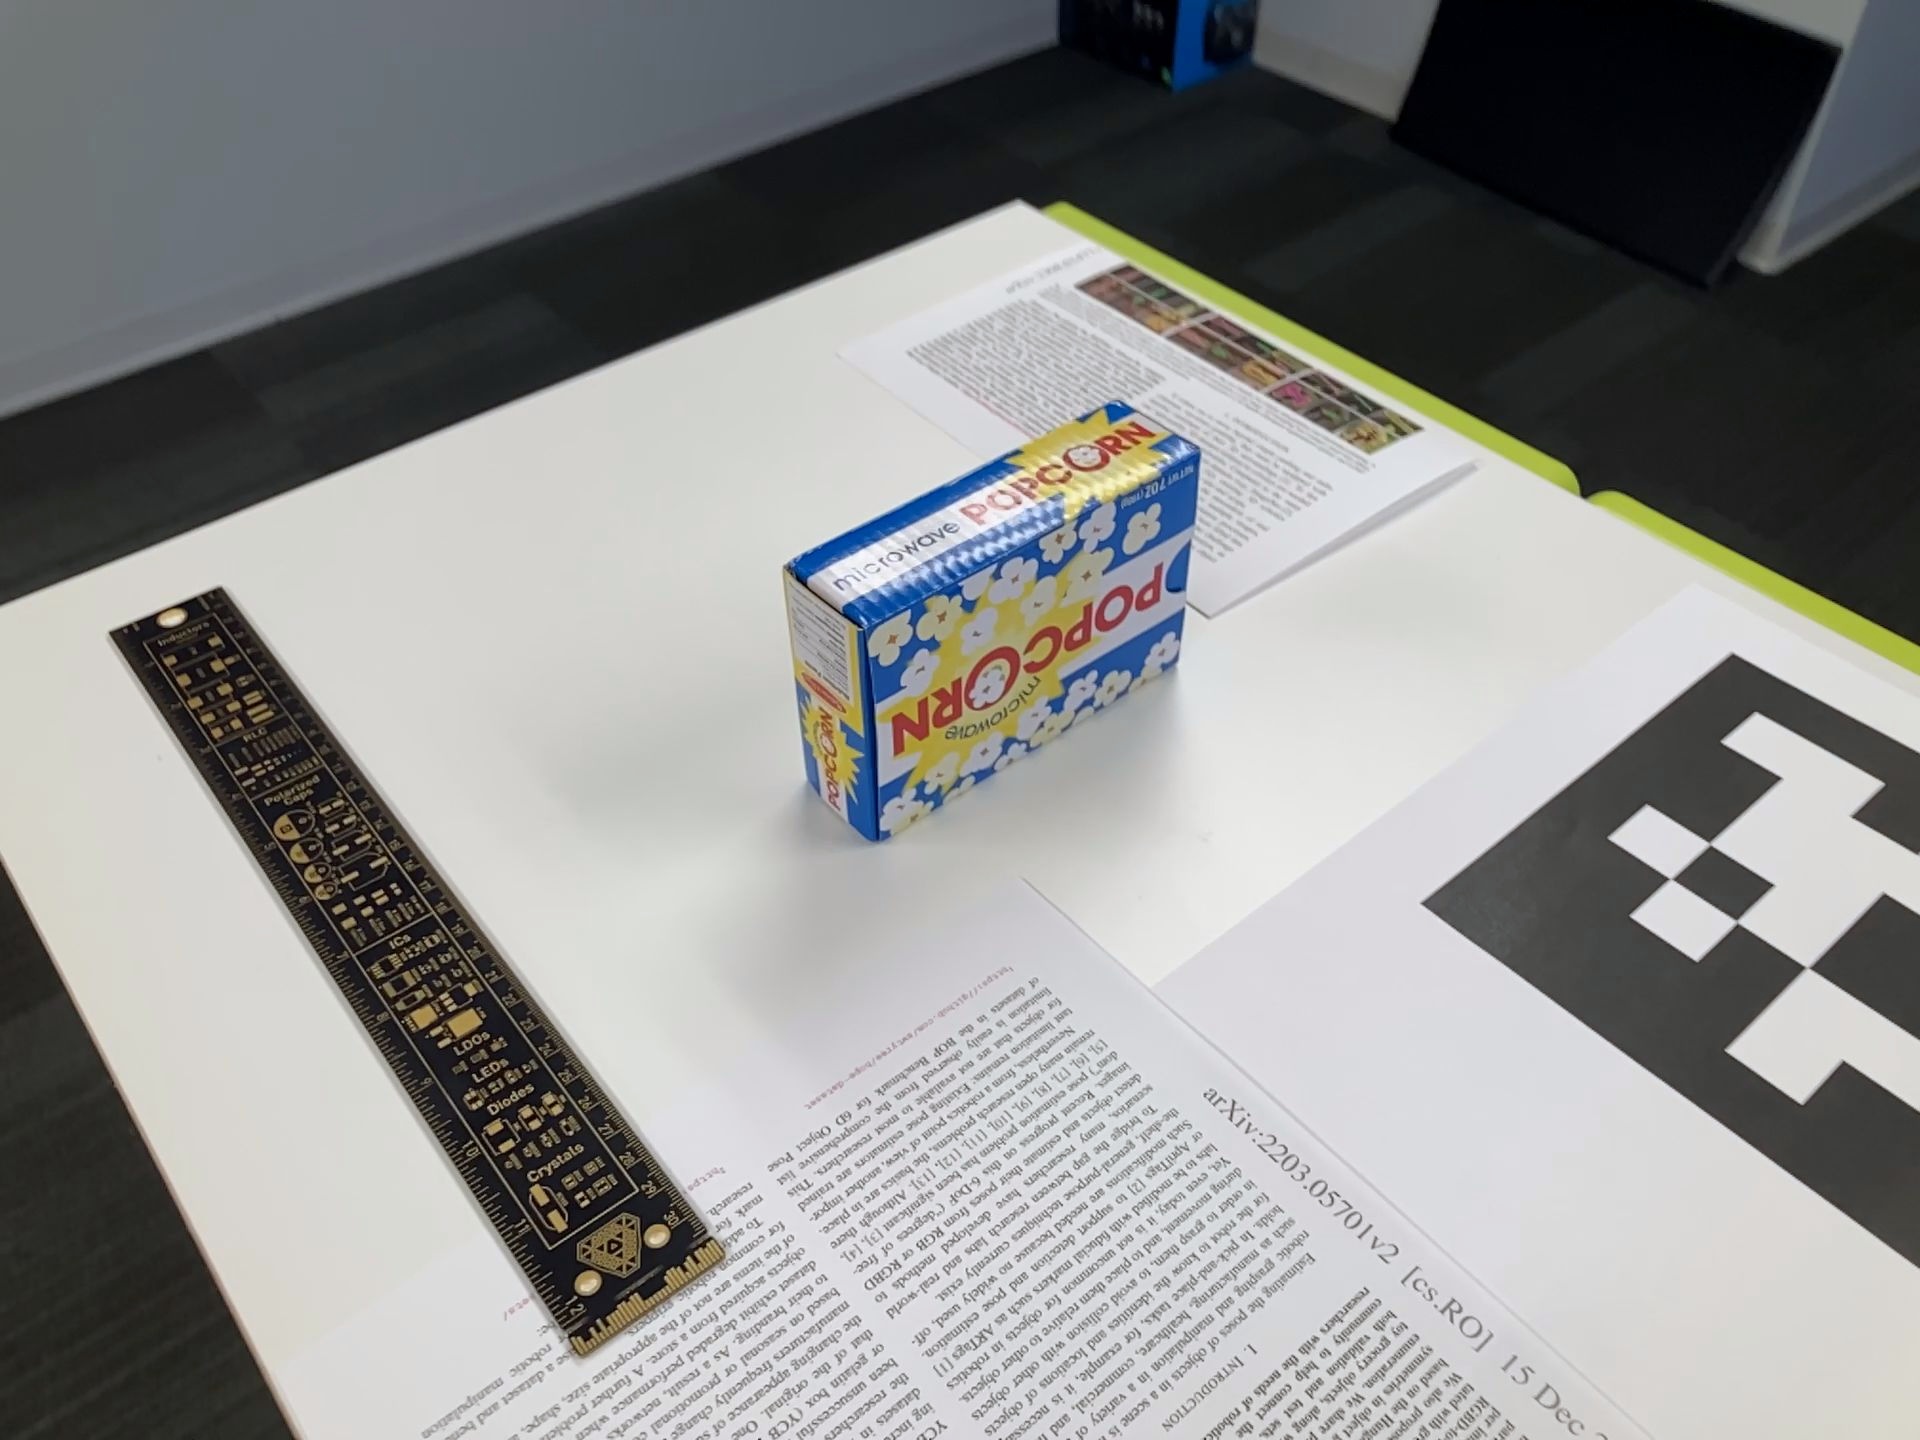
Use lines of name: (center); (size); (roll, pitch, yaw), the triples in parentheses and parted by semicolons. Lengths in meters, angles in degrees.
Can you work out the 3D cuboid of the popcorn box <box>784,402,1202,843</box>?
popcorn box: (0.012, -0.030, 0.470); (0.126, 0.085, 0.038); (-30, 50, -27)
